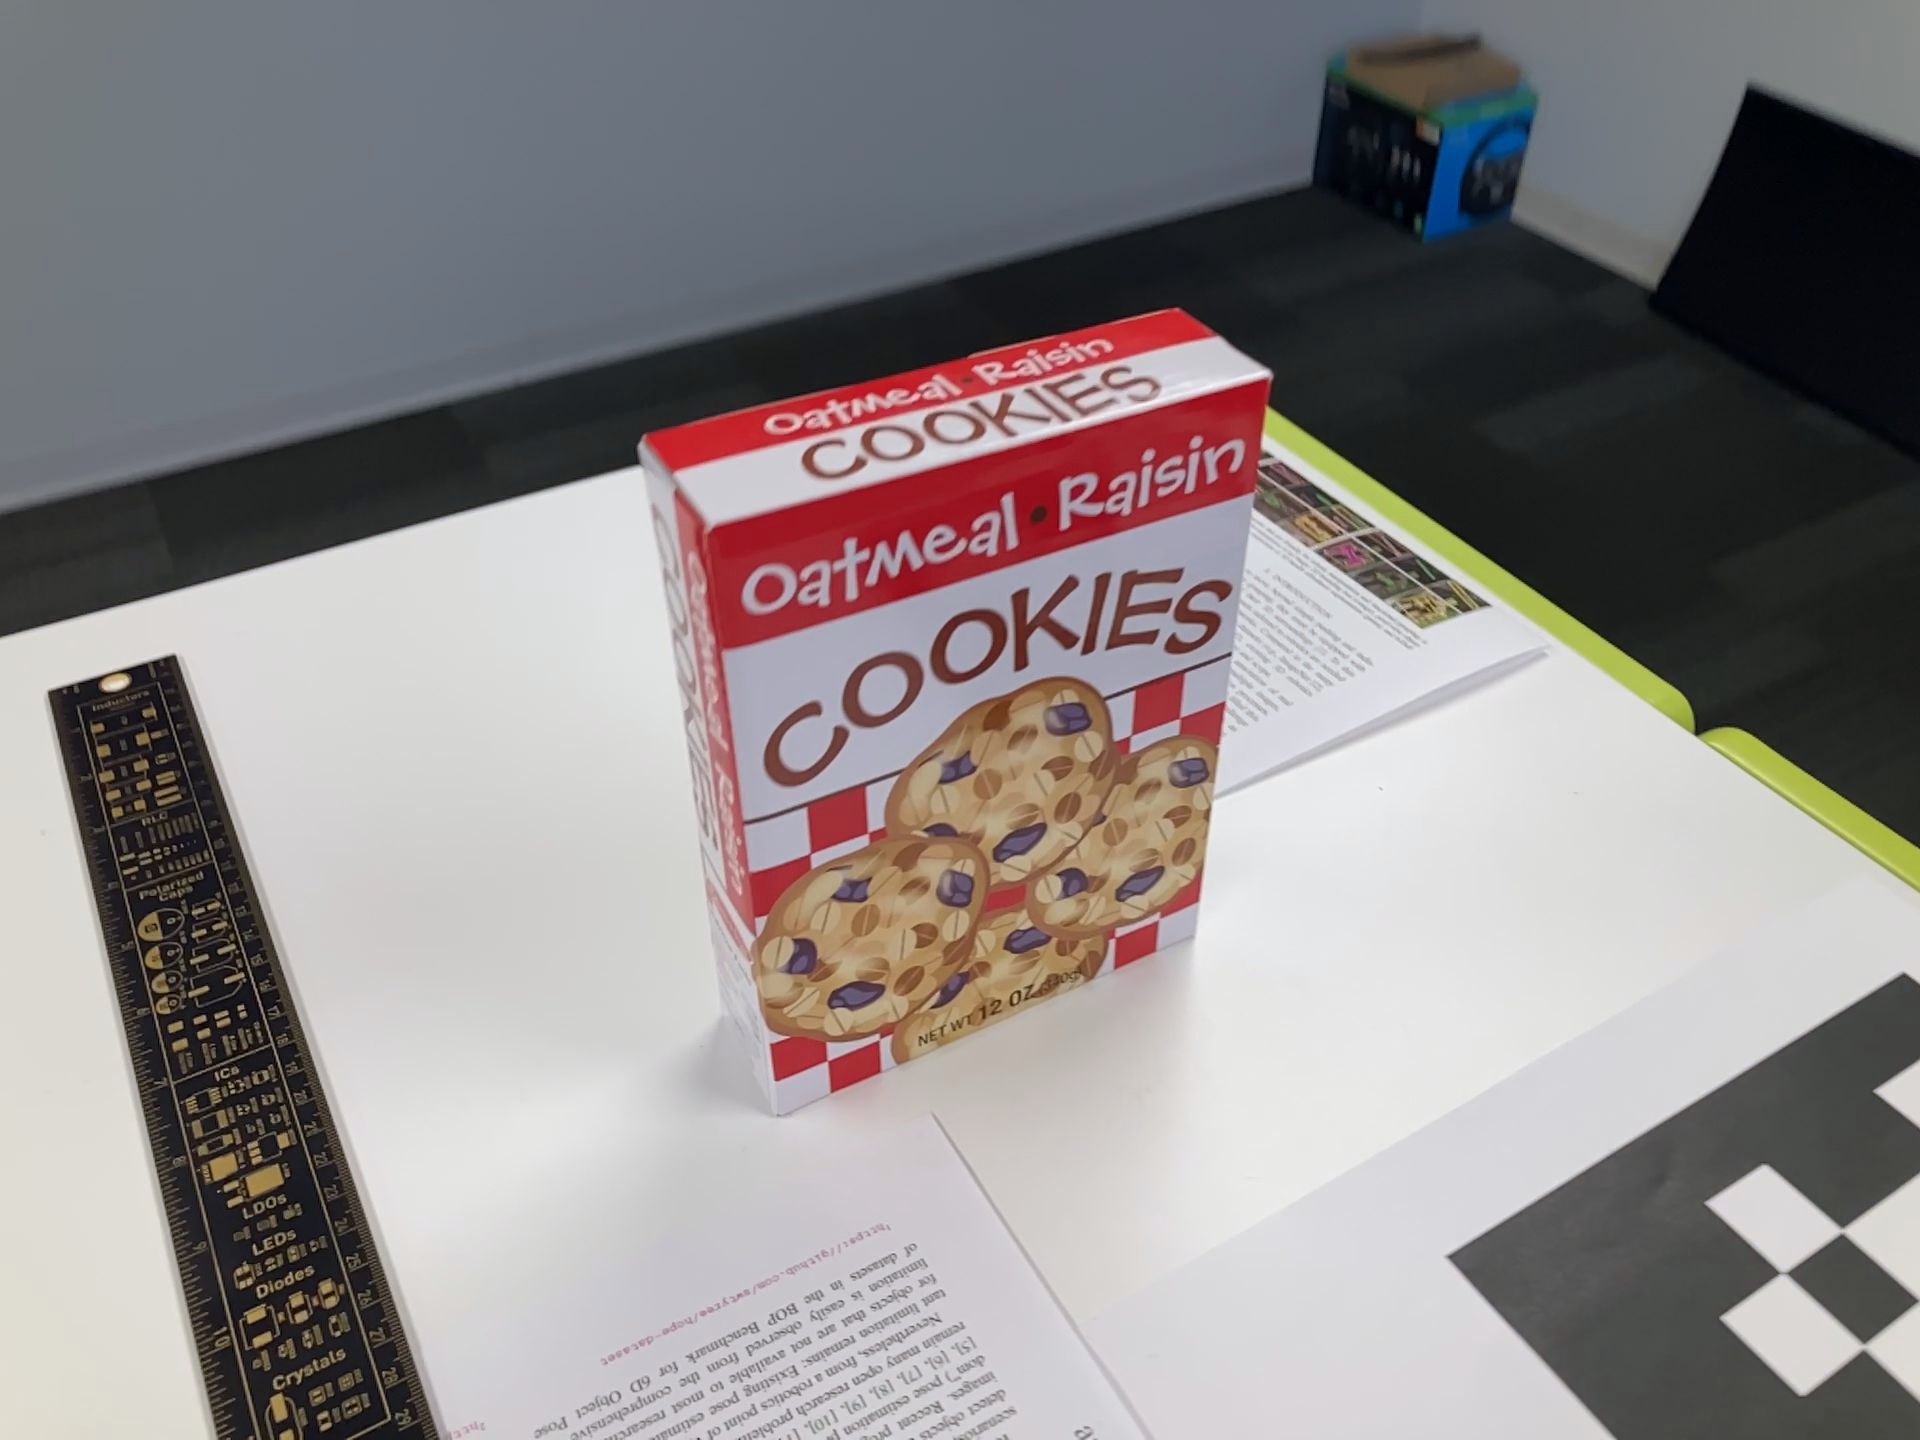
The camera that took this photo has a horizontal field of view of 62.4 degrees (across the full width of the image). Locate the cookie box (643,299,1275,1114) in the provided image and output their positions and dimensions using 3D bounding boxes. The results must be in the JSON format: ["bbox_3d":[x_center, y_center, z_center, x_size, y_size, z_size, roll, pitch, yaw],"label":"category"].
[{"bbox_3d":[0.001,0.001,0.360,0.123,0.167,0.040,-19,43,-21],"label":"cookie box"}]
